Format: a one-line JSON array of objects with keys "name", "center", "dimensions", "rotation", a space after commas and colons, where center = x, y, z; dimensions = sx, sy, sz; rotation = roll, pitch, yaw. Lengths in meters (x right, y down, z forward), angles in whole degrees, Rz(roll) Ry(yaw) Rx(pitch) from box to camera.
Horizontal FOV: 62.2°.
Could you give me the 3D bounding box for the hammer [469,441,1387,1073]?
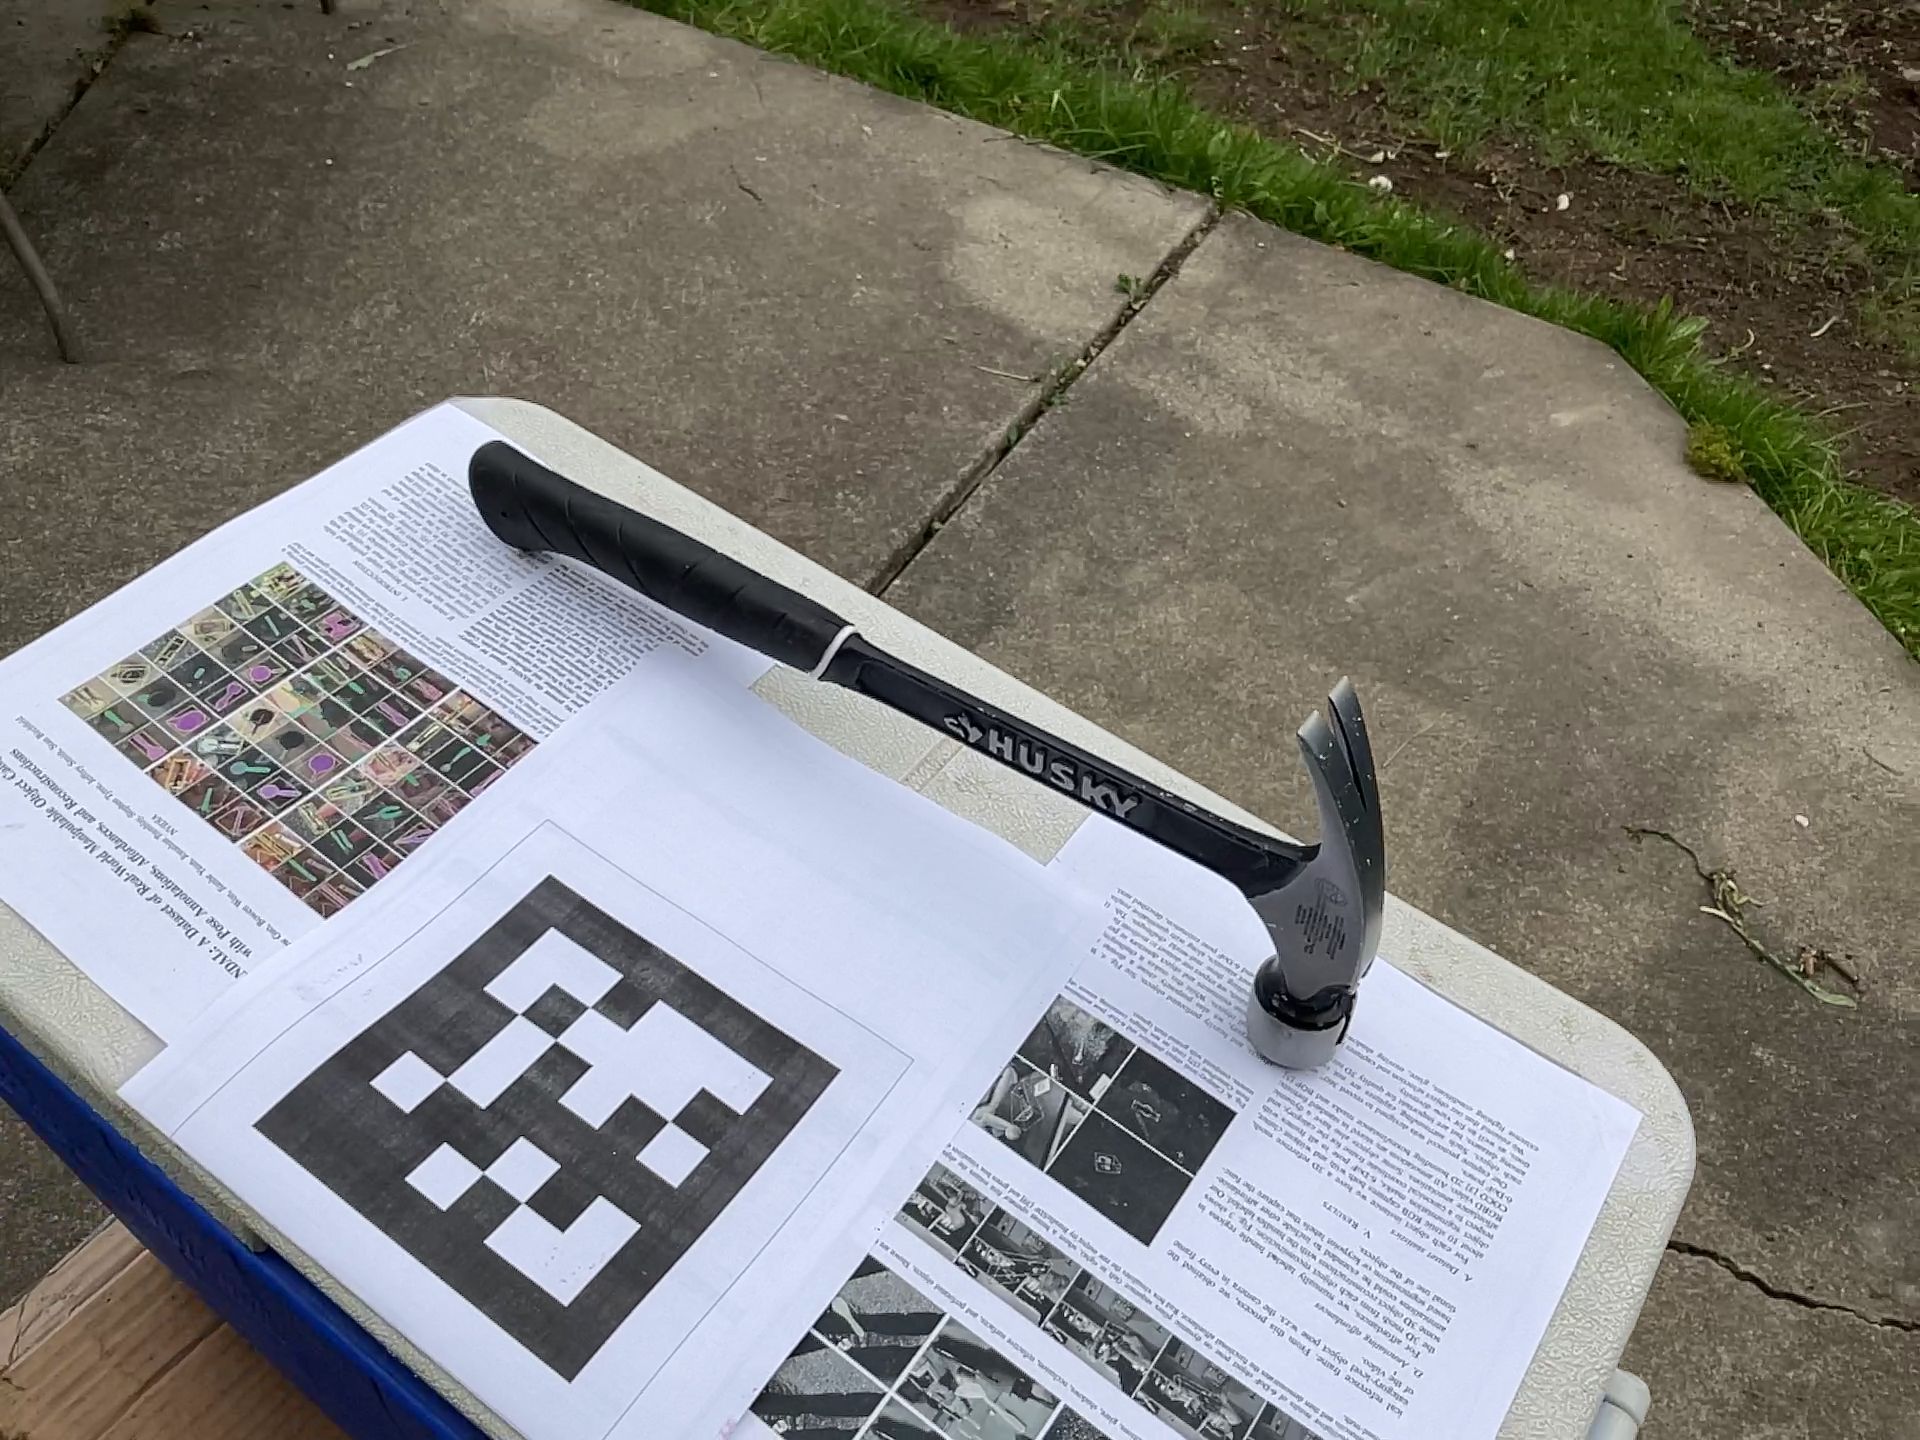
[{"name": "hammer", "center": [-0.033, -0.020, 0.585], "dimensions": [0.409, 0.149, 0.036], "rotation": [27, 49, 24]}]
